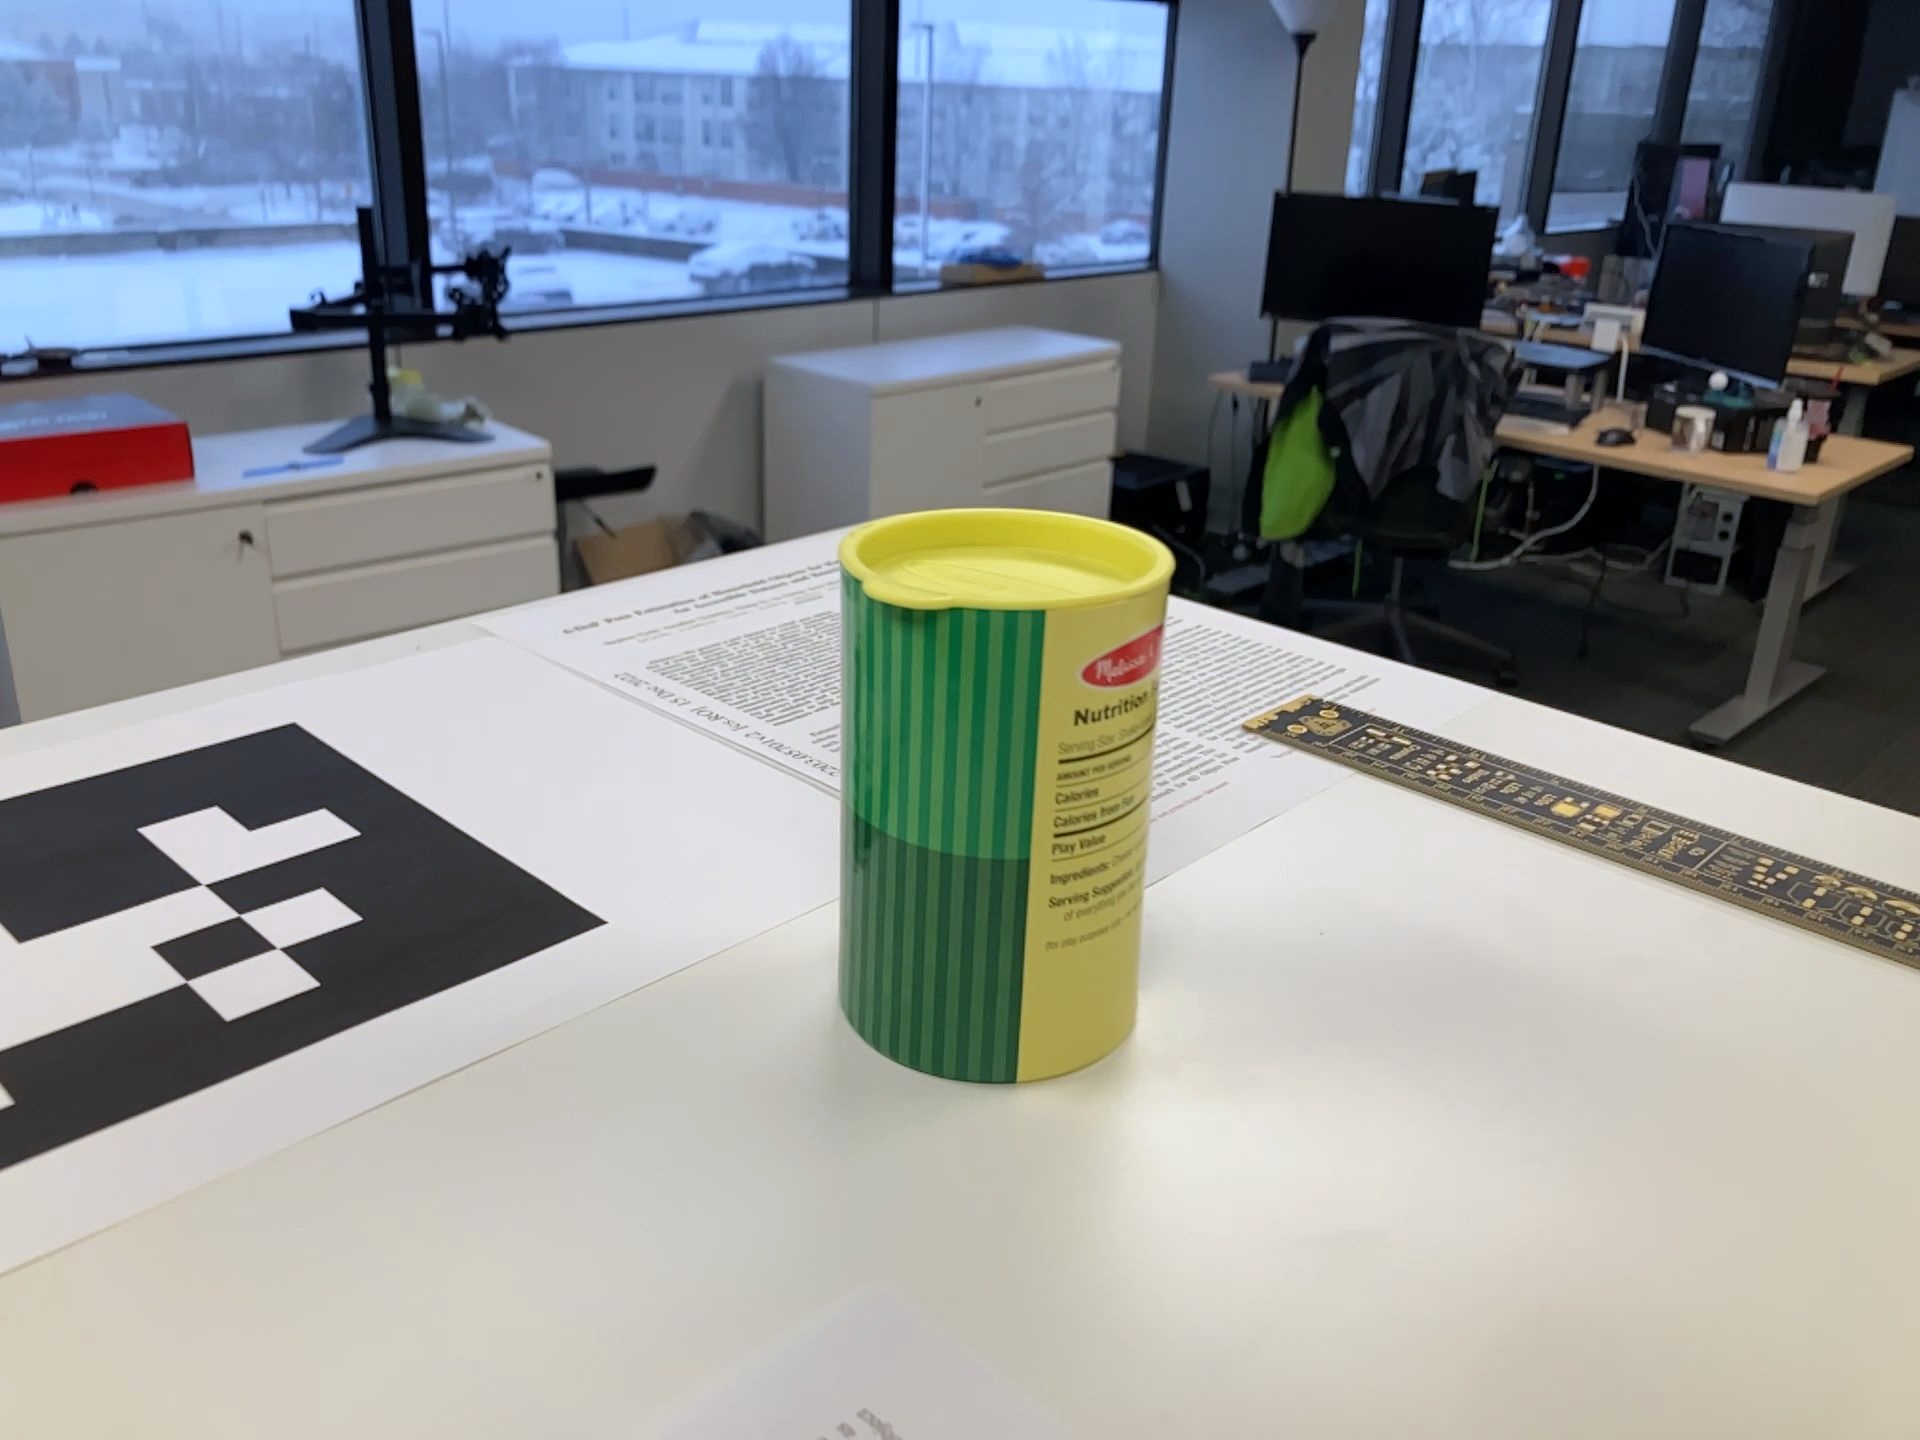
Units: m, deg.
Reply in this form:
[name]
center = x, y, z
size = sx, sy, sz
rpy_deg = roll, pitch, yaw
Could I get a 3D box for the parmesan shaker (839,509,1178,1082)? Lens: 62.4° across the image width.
[parmesan shaker]
center = 0.006, 0.015, 0.328
size = 0.071, 0.103, 0.071
rpy_deg = 2, 21, -1
